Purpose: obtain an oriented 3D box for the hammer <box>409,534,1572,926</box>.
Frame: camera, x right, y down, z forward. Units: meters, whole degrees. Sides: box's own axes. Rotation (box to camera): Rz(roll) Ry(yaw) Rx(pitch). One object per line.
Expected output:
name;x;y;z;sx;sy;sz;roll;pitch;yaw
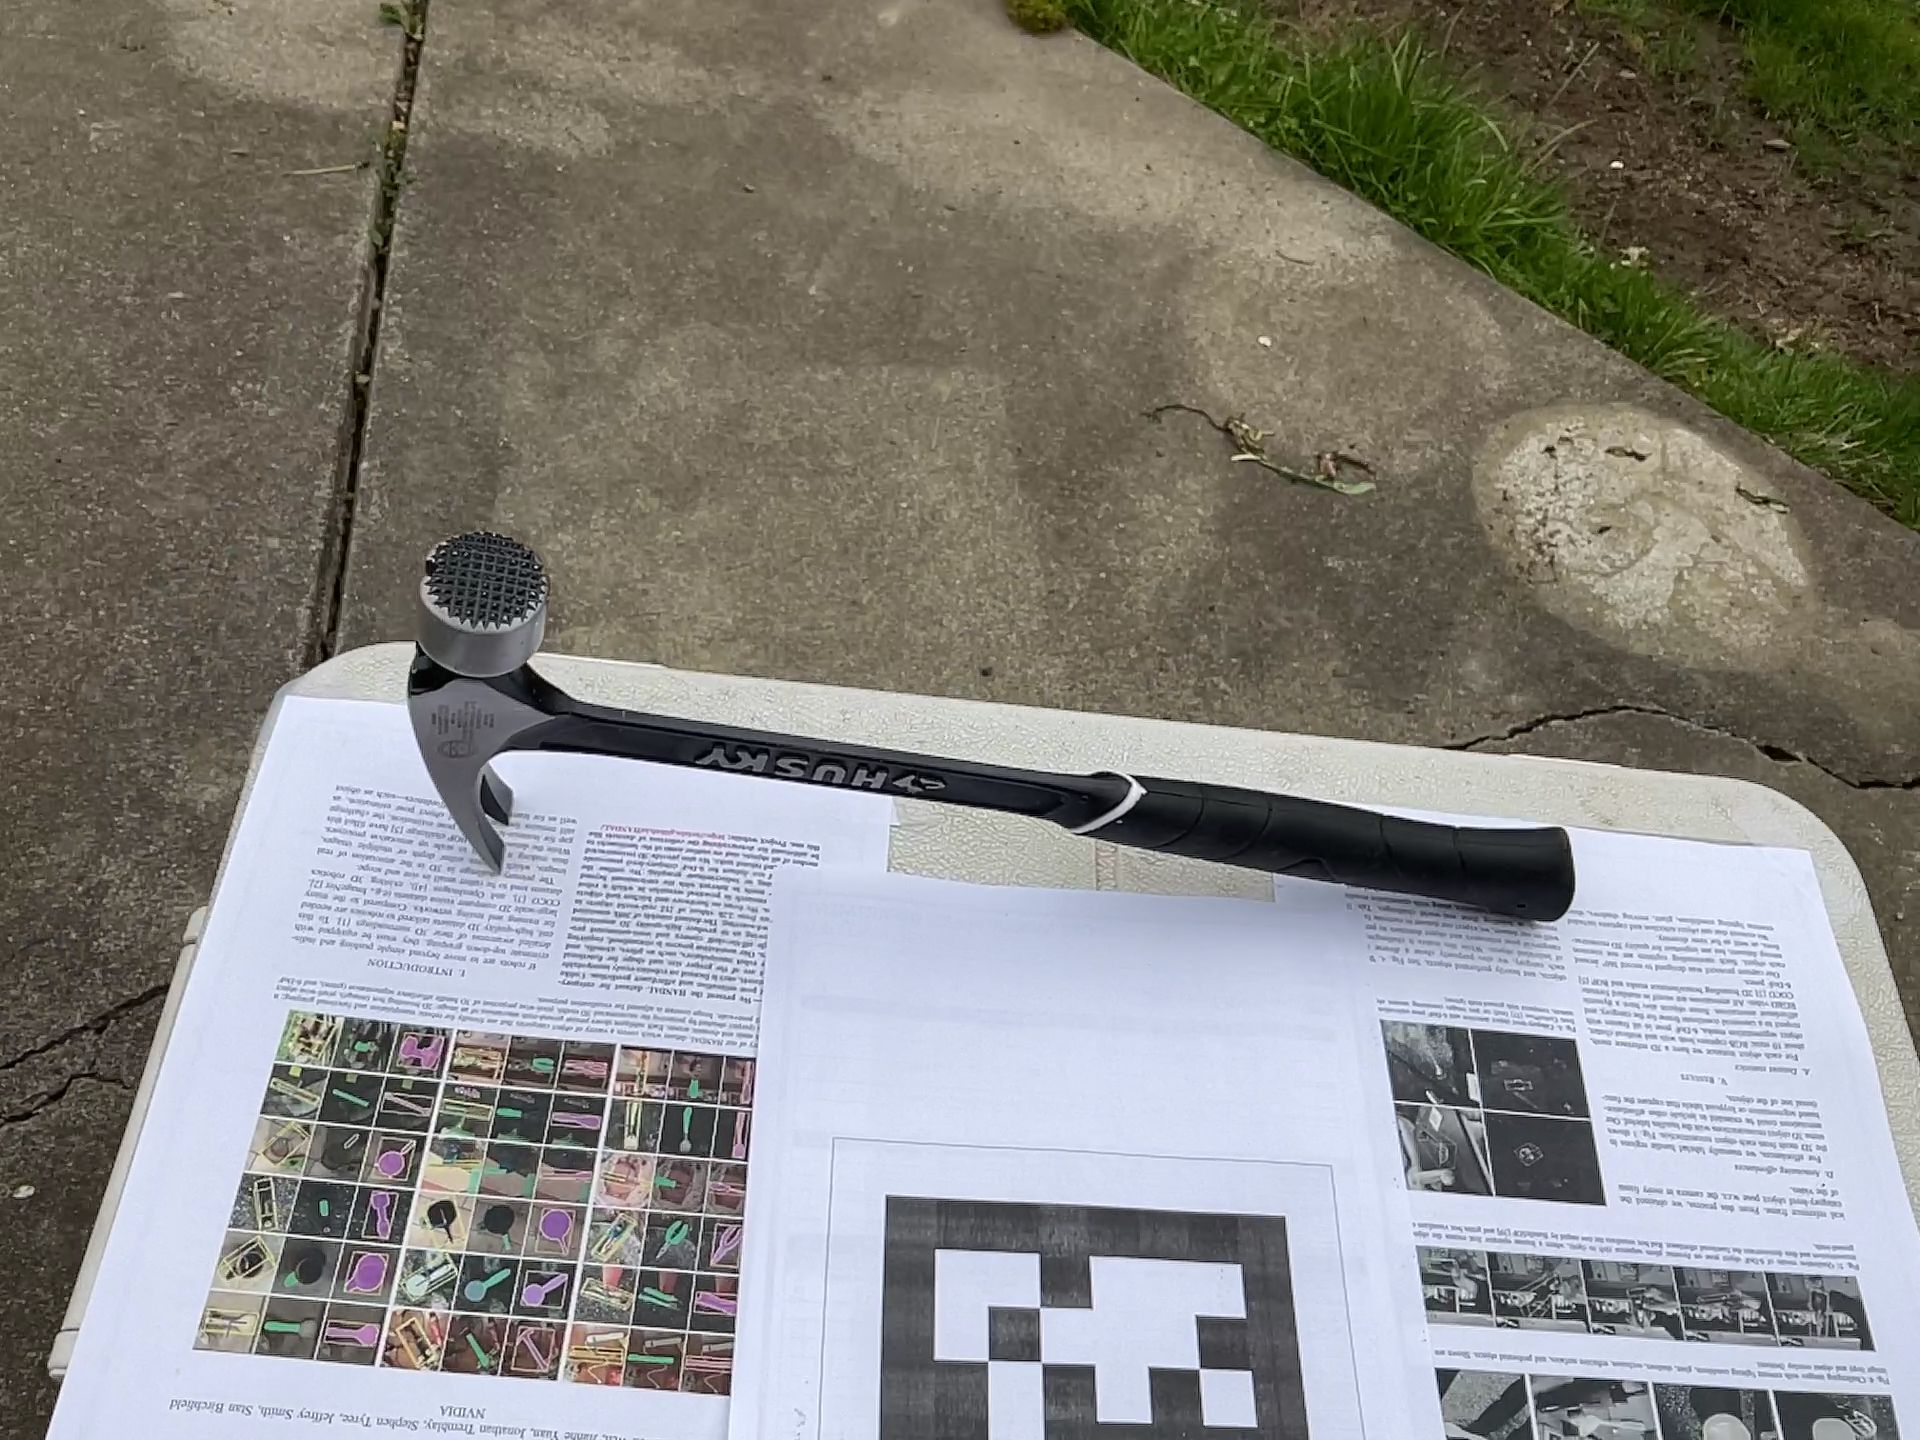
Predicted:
hammer;0.027;0.030;0.541;0.409;0.149;0.036;10;56;-15
